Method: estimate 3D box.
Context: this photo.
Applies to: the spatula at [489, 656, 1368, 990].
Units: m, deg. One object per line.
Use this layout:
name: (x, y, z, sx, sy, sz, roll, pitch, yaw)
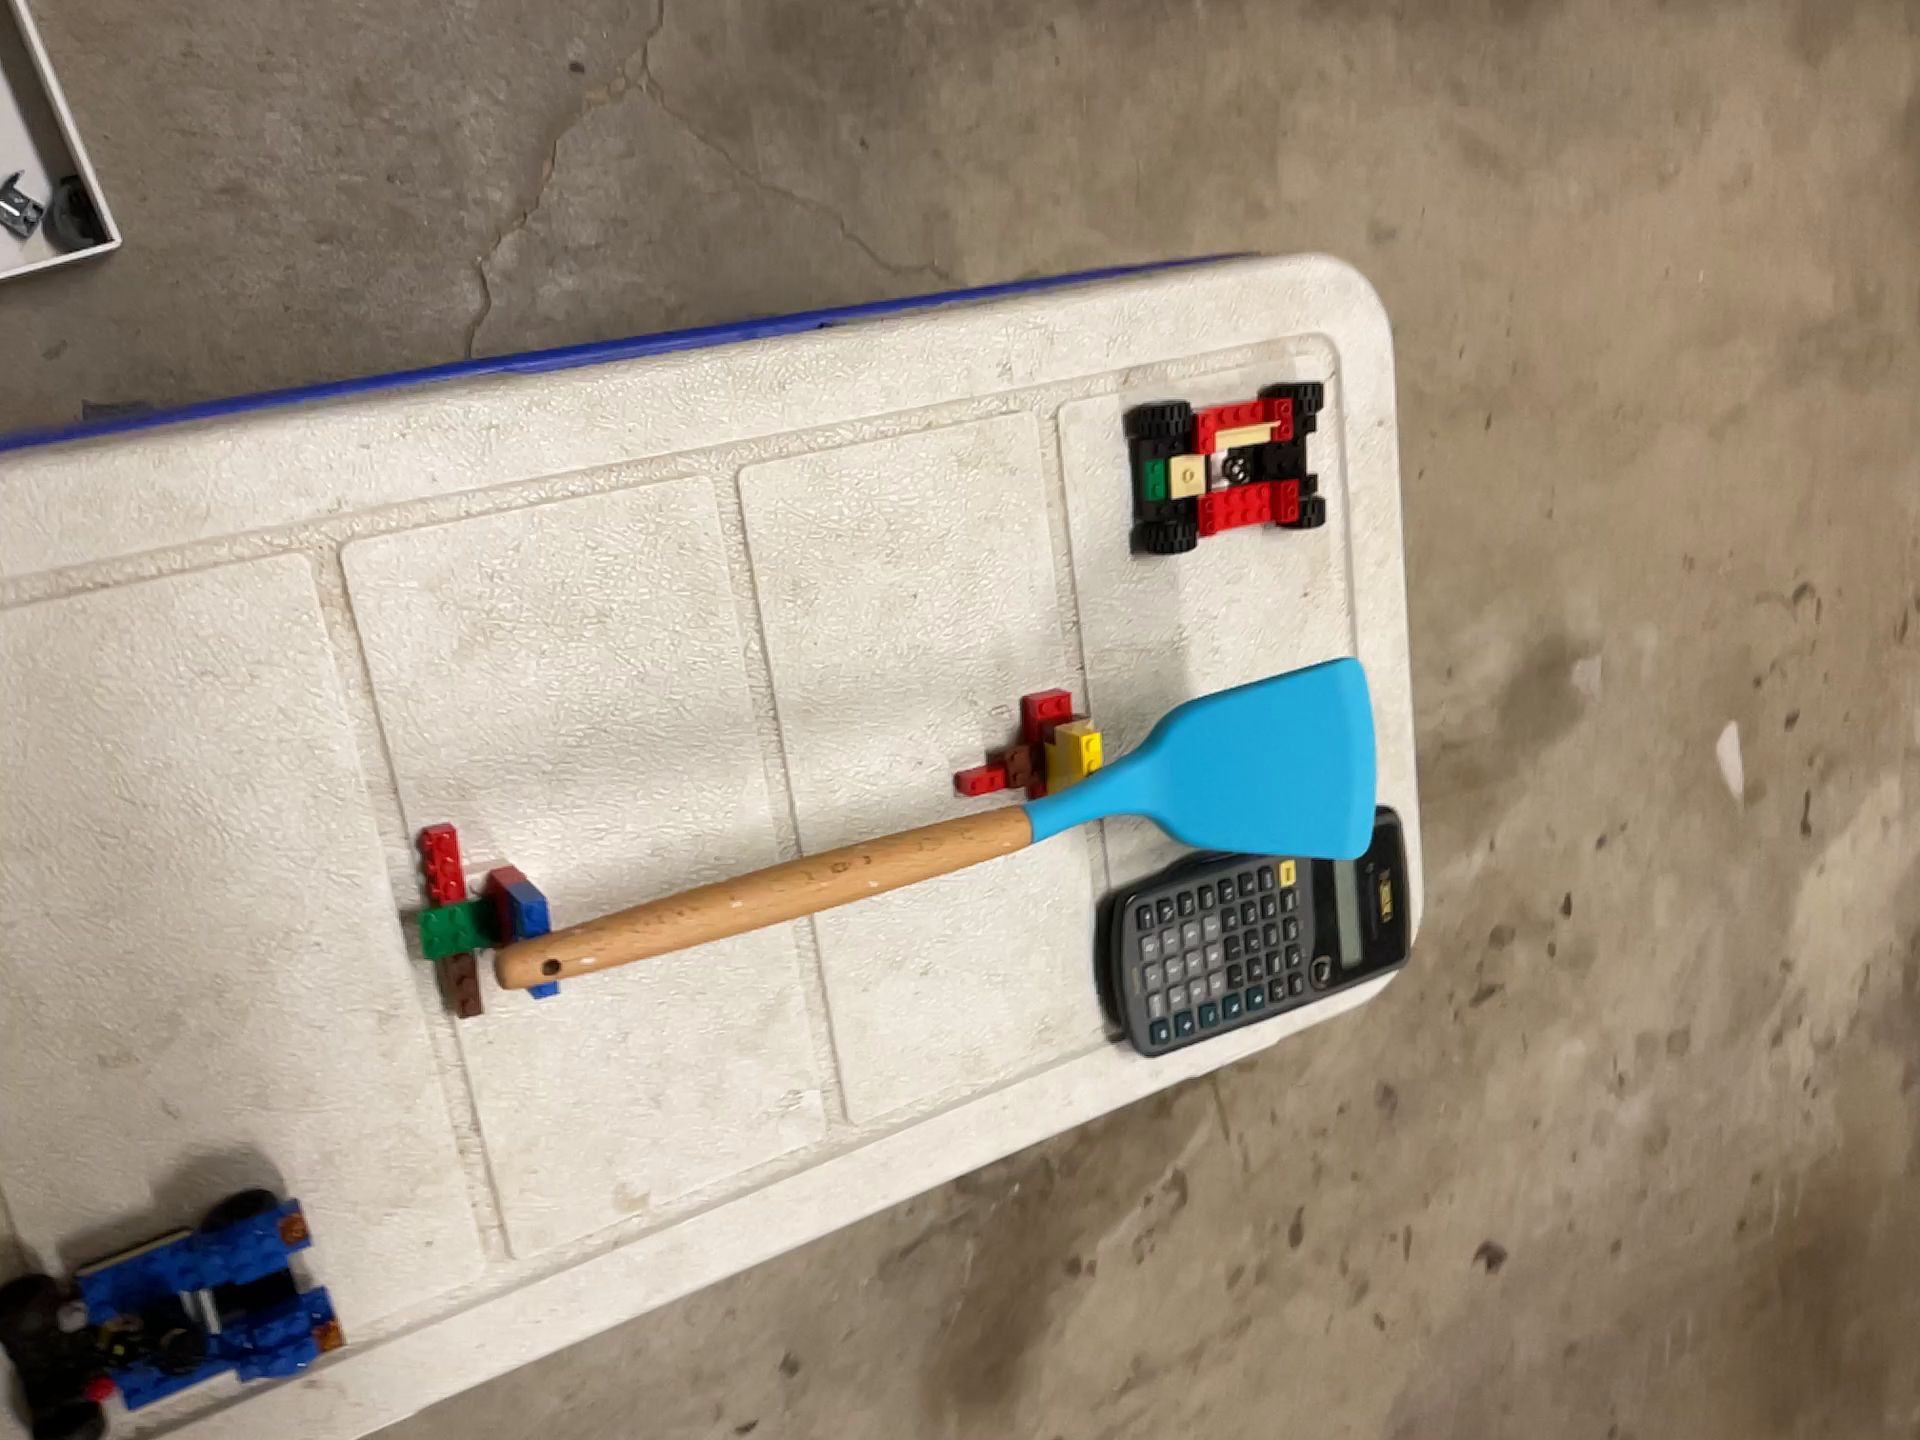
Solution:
spatula: (0.003, 0.044, 0.540, 0.317, 0.044, 0.082, -14, 110, -26)
